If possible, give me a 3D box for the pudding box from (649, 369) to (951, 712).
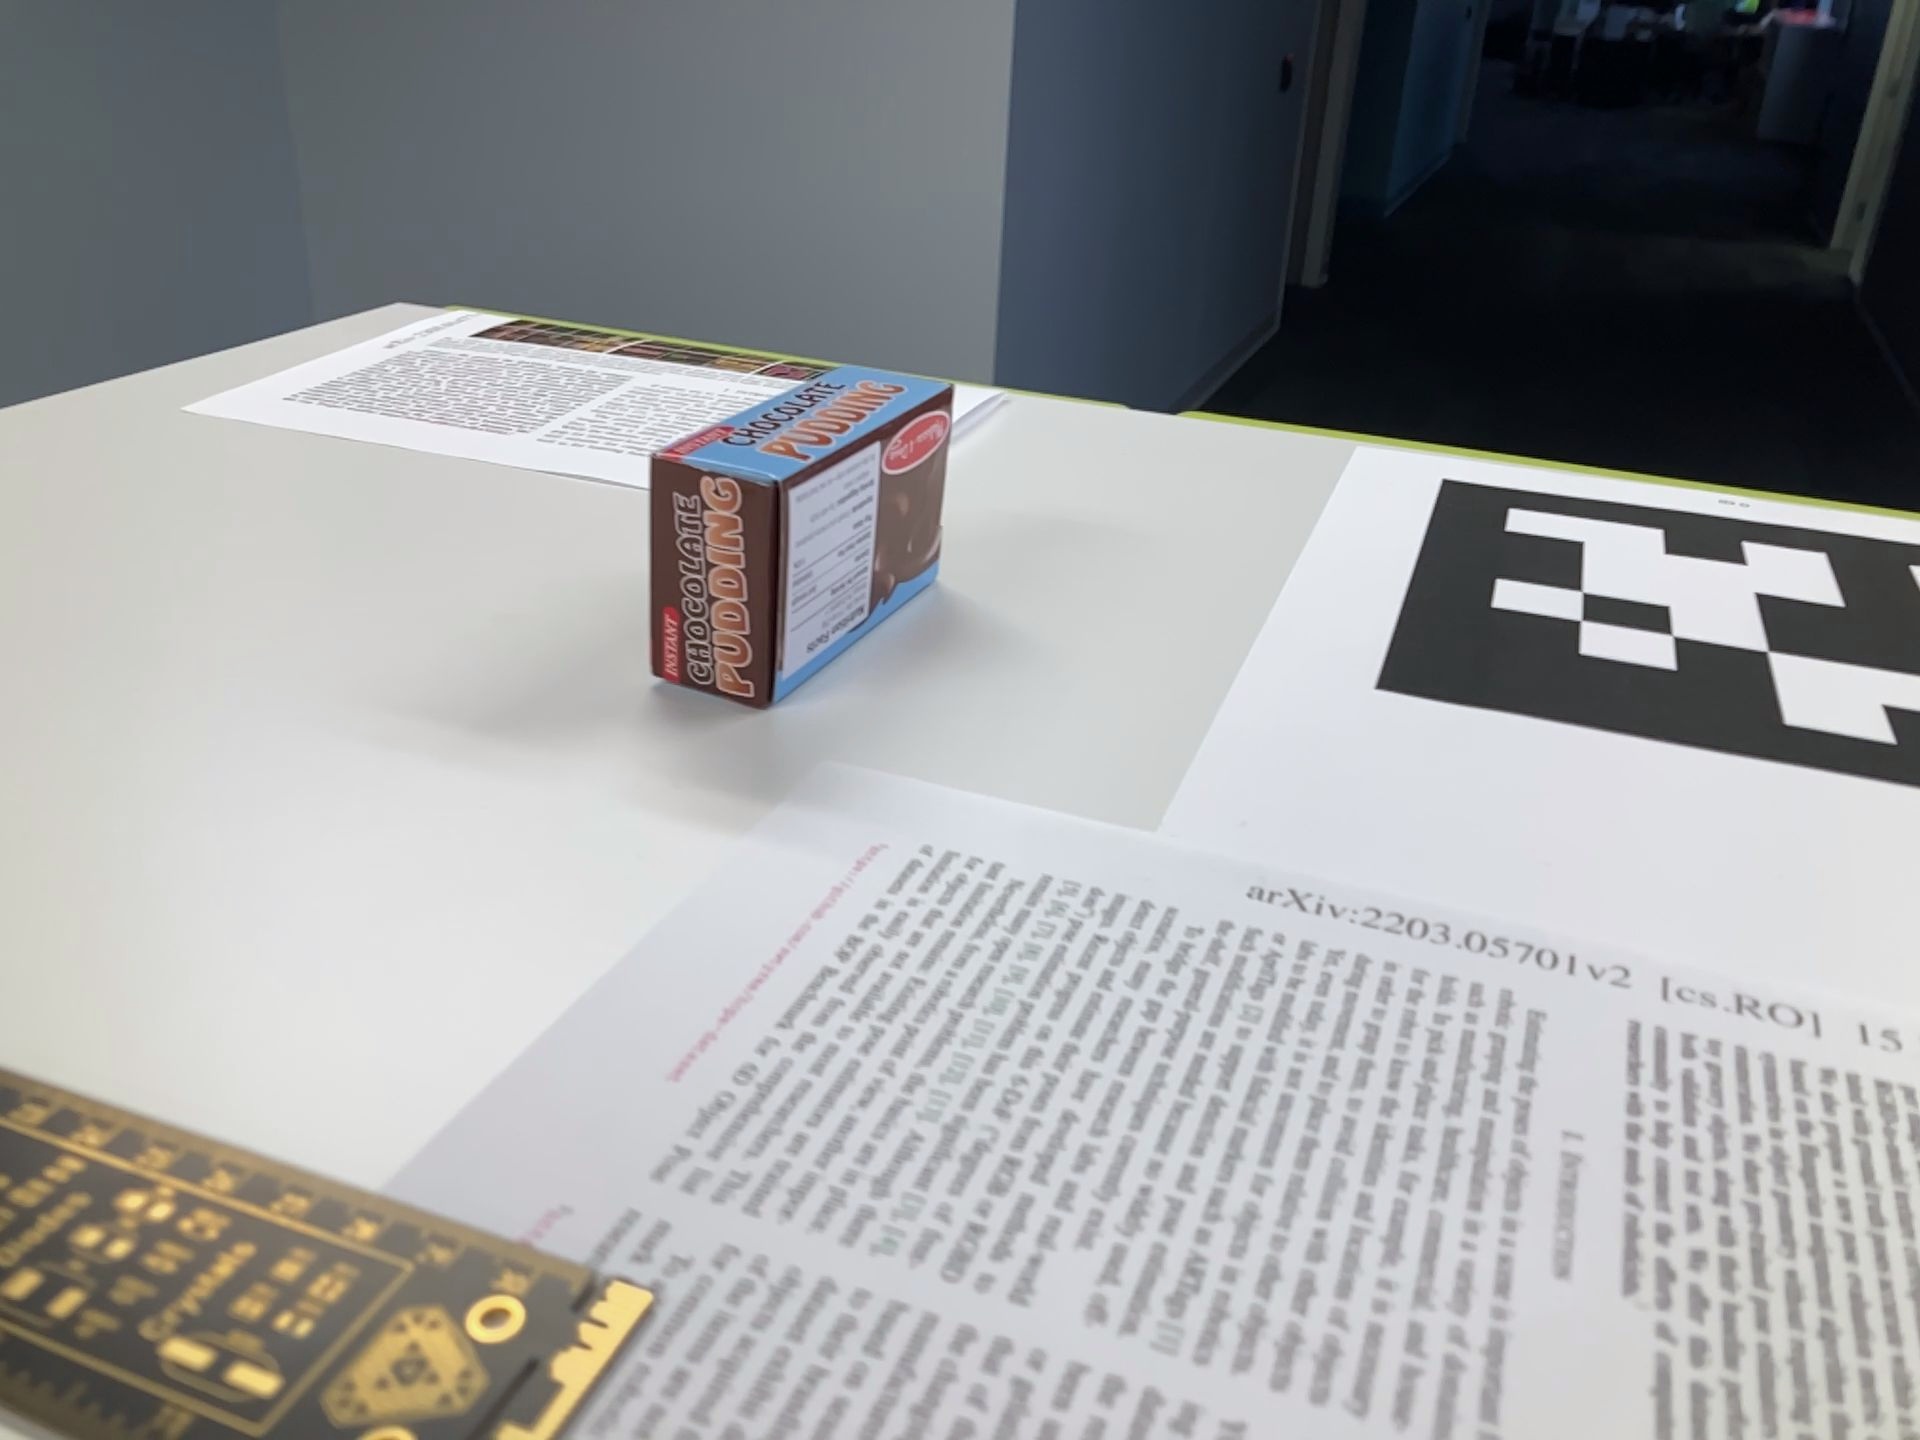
[{"bbox_3d":[-0.032,-0.041,0.338,0.030,0.049,0.083,15,29,18],"label":"pudding box"}]
